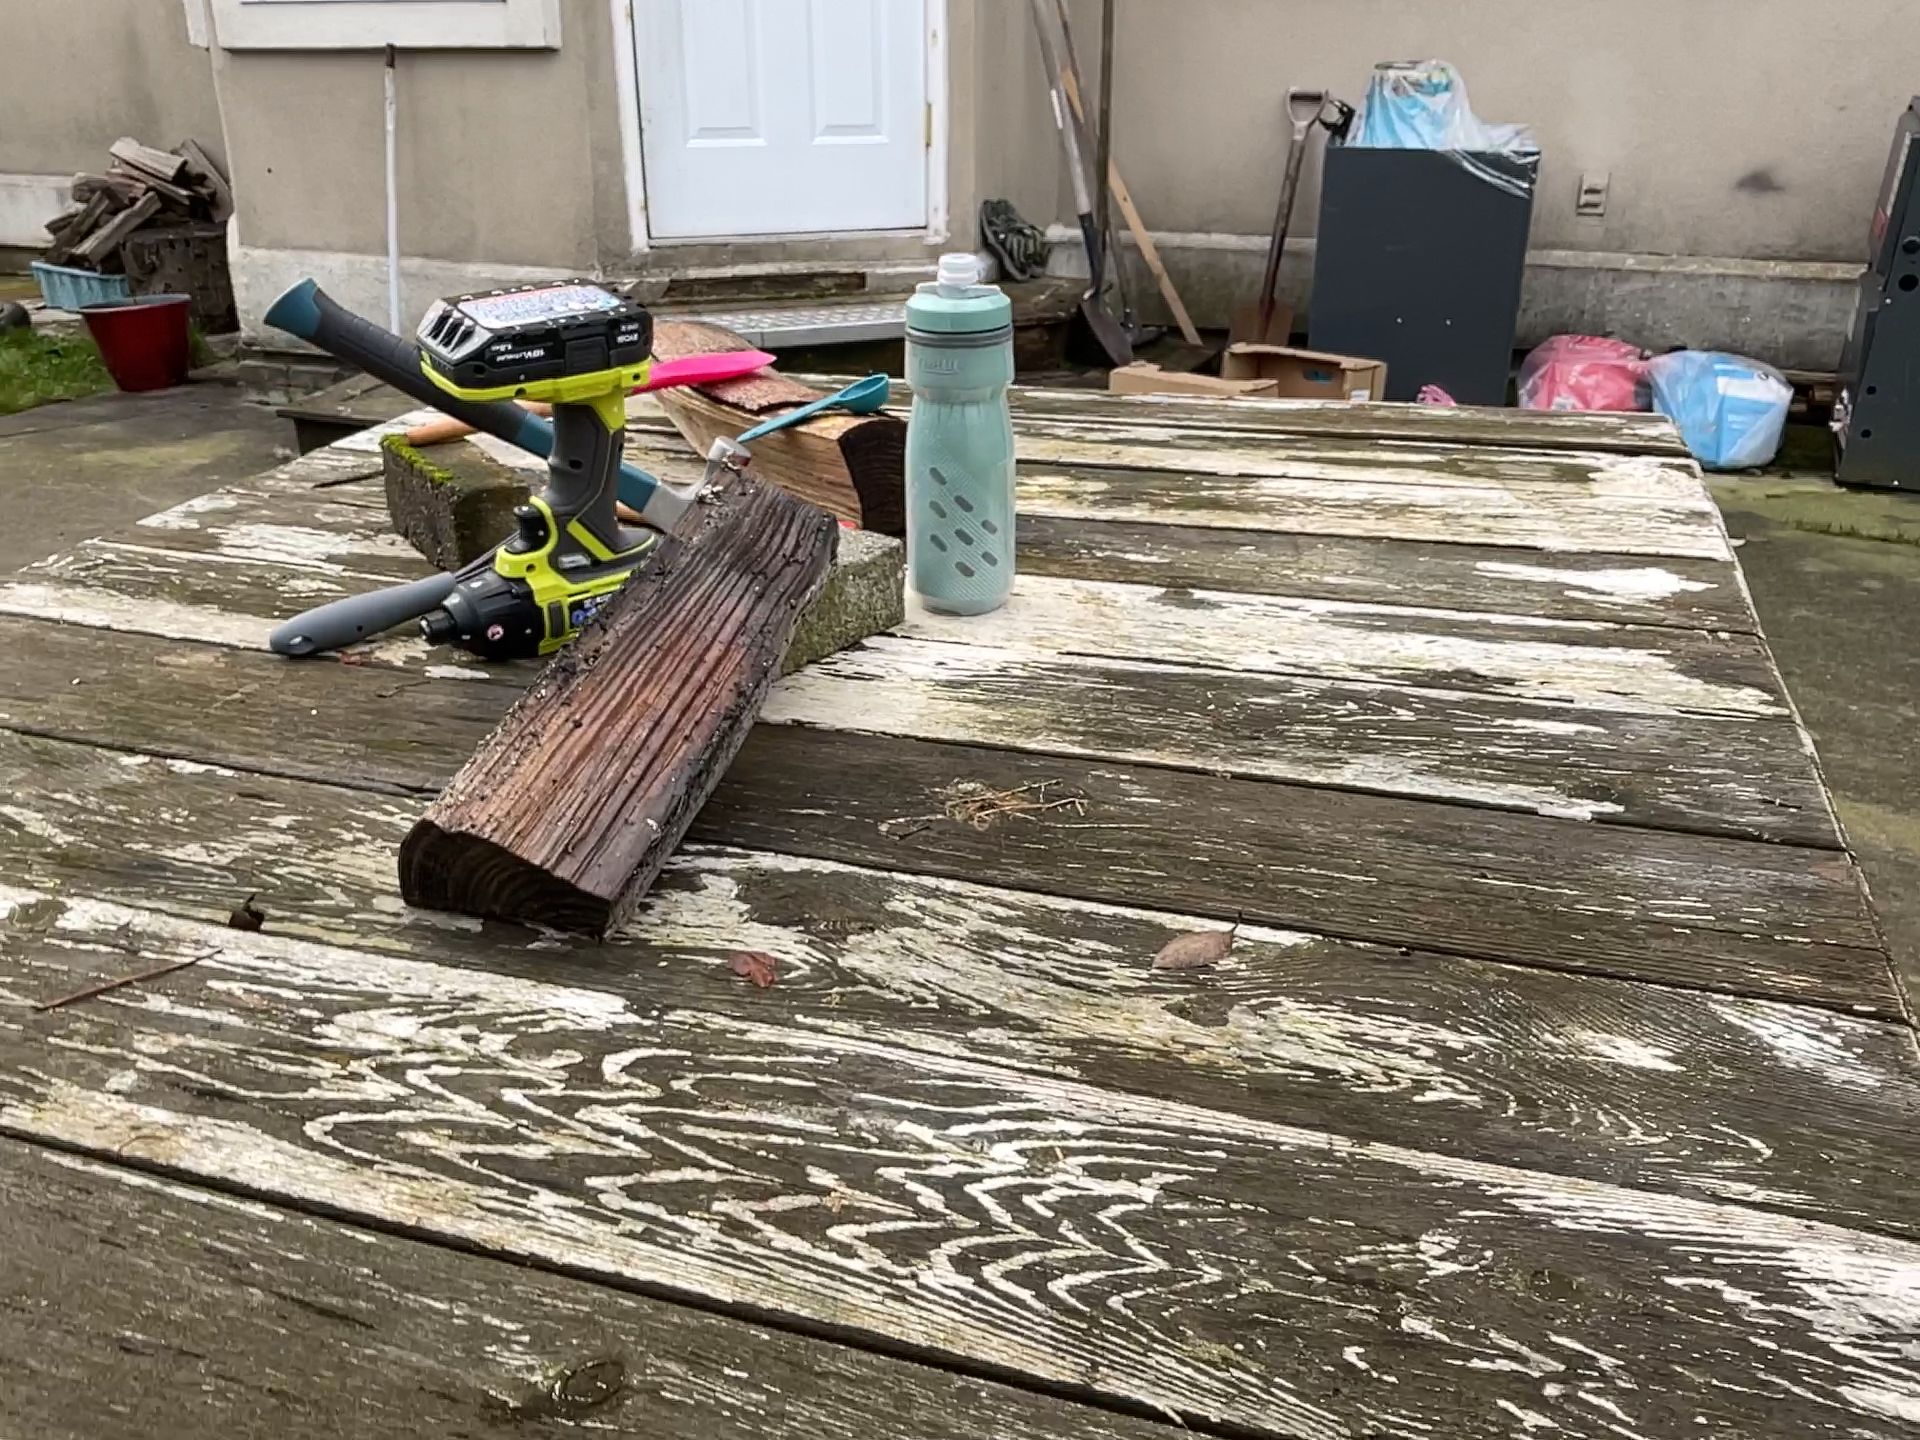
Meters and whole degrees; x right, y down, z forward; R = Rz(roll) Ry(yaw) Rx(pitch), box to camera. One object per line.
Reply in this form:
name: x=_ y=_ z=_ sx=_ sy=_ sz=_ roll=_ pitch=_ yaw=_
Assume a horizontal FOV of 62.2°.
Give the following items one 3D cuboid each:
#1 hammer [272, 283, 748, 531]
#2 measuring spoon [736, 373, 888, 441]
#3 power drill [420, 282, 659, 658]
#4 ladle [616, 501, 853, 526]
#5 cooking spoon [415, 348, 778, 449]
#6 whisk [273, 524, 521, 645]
hammer: x=-0.328 y=-0.218 z=1.152 sx=0.330 sy=0.128 sz=0.033 roll=28 pitch=17 yaw=-16
measuring spoon: x=-0.113 y=-0.236 z=1.239 sx=0.128 sy=0.021 sz=0.042 roll=-21 pitch=24 yaw=8
power drill: x=-0.263 y=-0.150 z=1.007 sx=0.171 sy=0.223 sz=0.080 roll=-21 pitch=39 yaw=-34
ladle: x=-0.214 y=-0.159 z=1.258 sx=0.316 sy=0.031 sz=0.069 roll=13 pitch=30 yaw=32
cooking spoon: x=-0.290 y=-0.266 z=1.300 sx=0.318 sy=0.017 sz=0.069 roll=-23 pitch=33 yaw=-31
whisk: x=-0.349 y=-0.096 z=1.087 sx=0.238 sy=0.055 sz=0.055 roll=-23 pitch=25 yaw=-34
